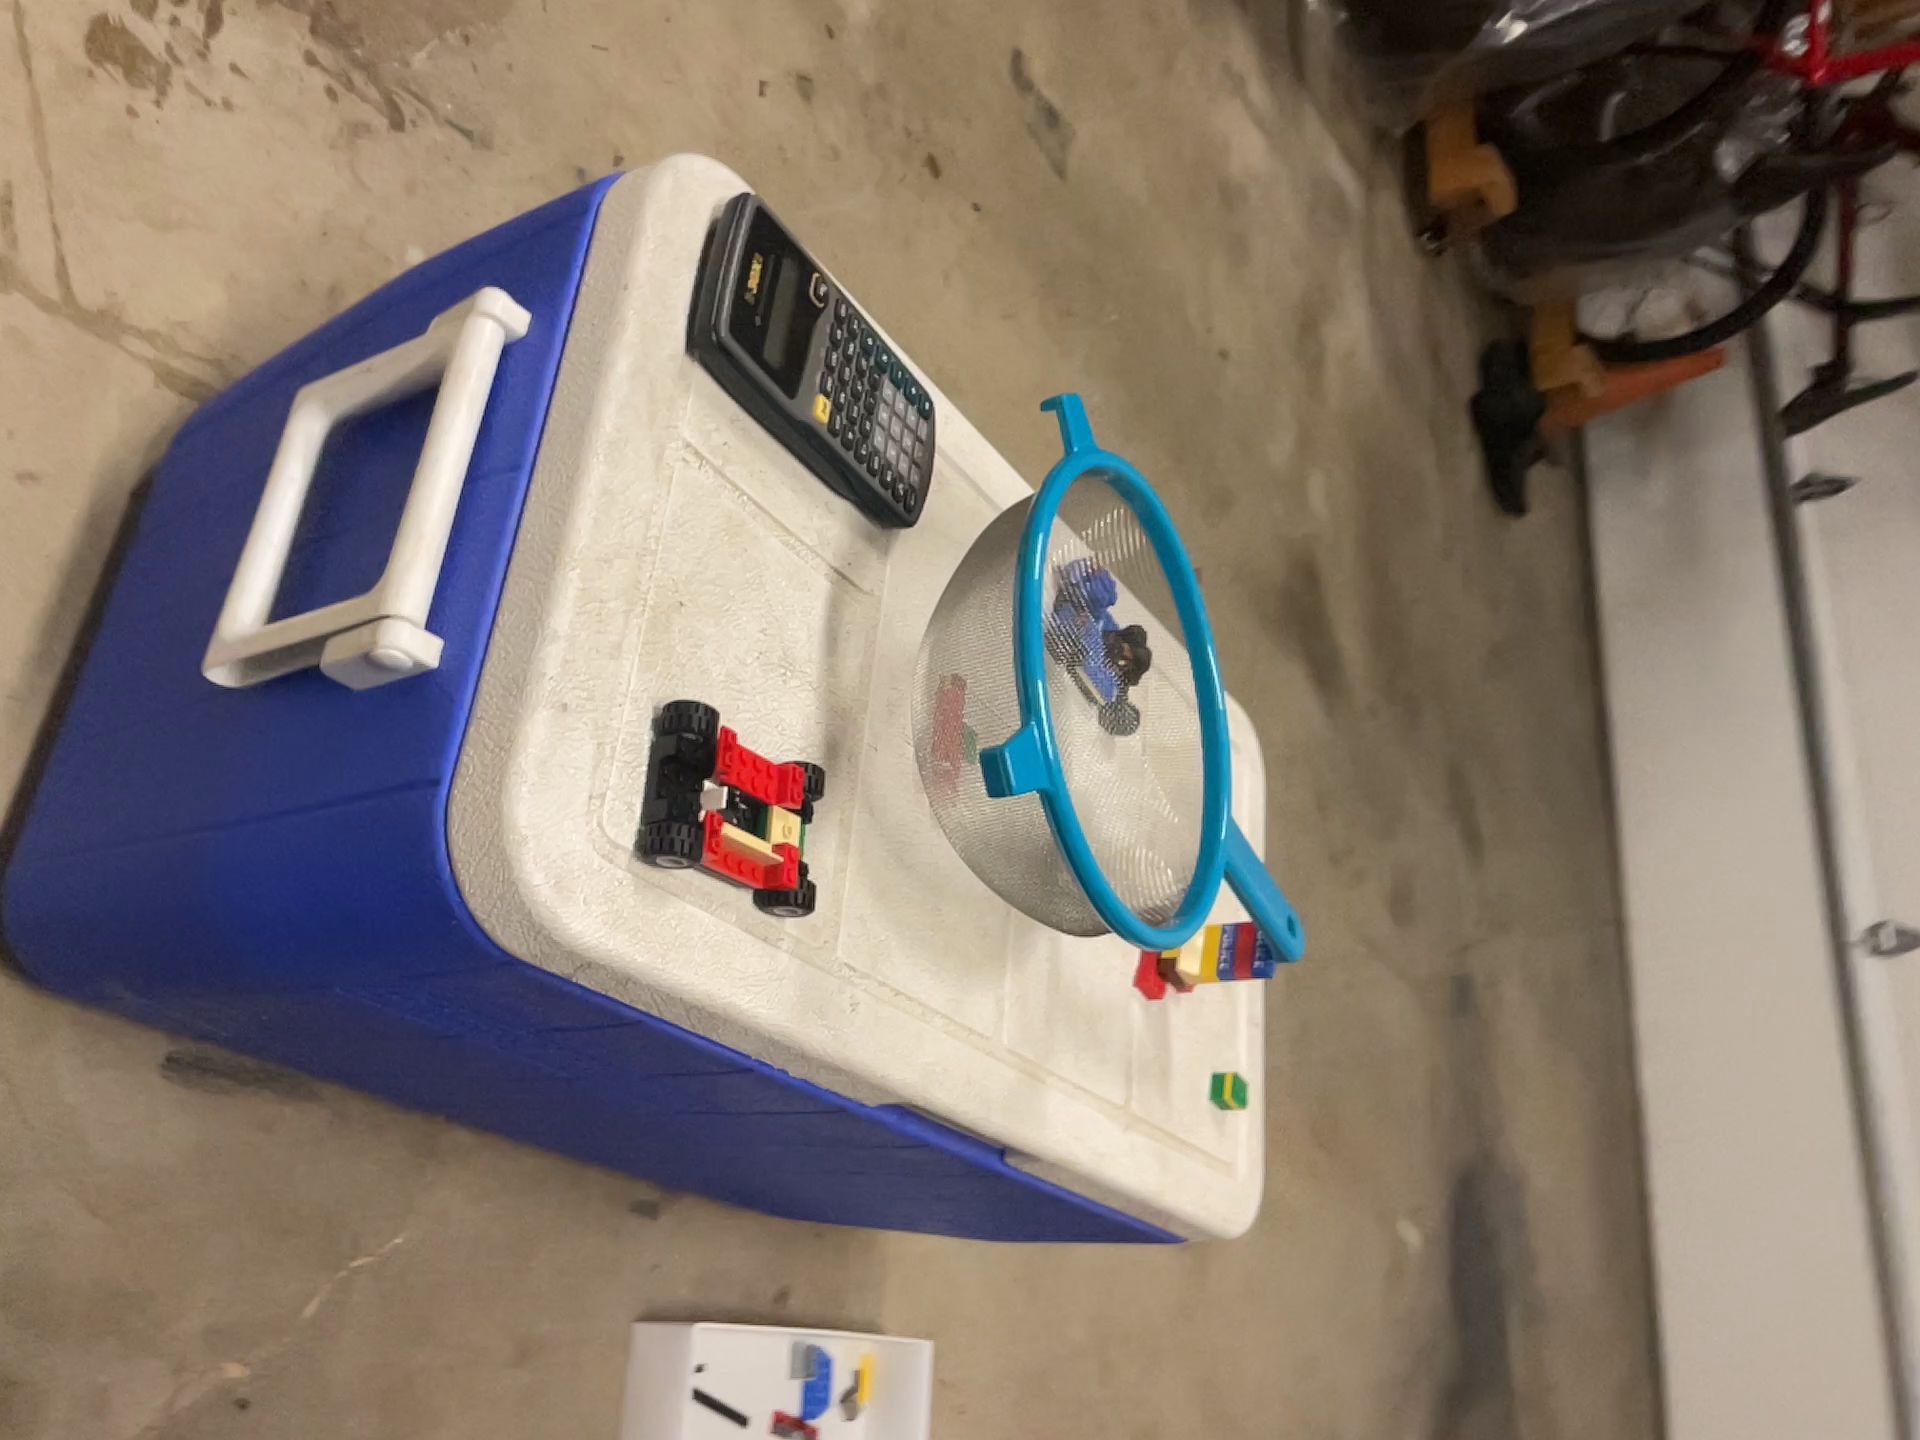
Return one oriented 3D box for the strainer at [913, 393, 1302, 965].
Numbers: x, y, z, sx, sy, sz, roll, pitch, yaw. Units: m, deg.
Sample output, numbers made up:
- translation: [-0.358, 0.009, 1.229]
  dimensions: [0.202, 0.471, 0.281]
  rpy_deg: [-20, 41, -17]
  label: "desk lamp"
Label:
- translation: [0.067, 0.031, 0.728]
  dimensions: [0.339, 0.095, 0.211]
  rpy_deg: [51, 39, -46]
  label: "strainer"
